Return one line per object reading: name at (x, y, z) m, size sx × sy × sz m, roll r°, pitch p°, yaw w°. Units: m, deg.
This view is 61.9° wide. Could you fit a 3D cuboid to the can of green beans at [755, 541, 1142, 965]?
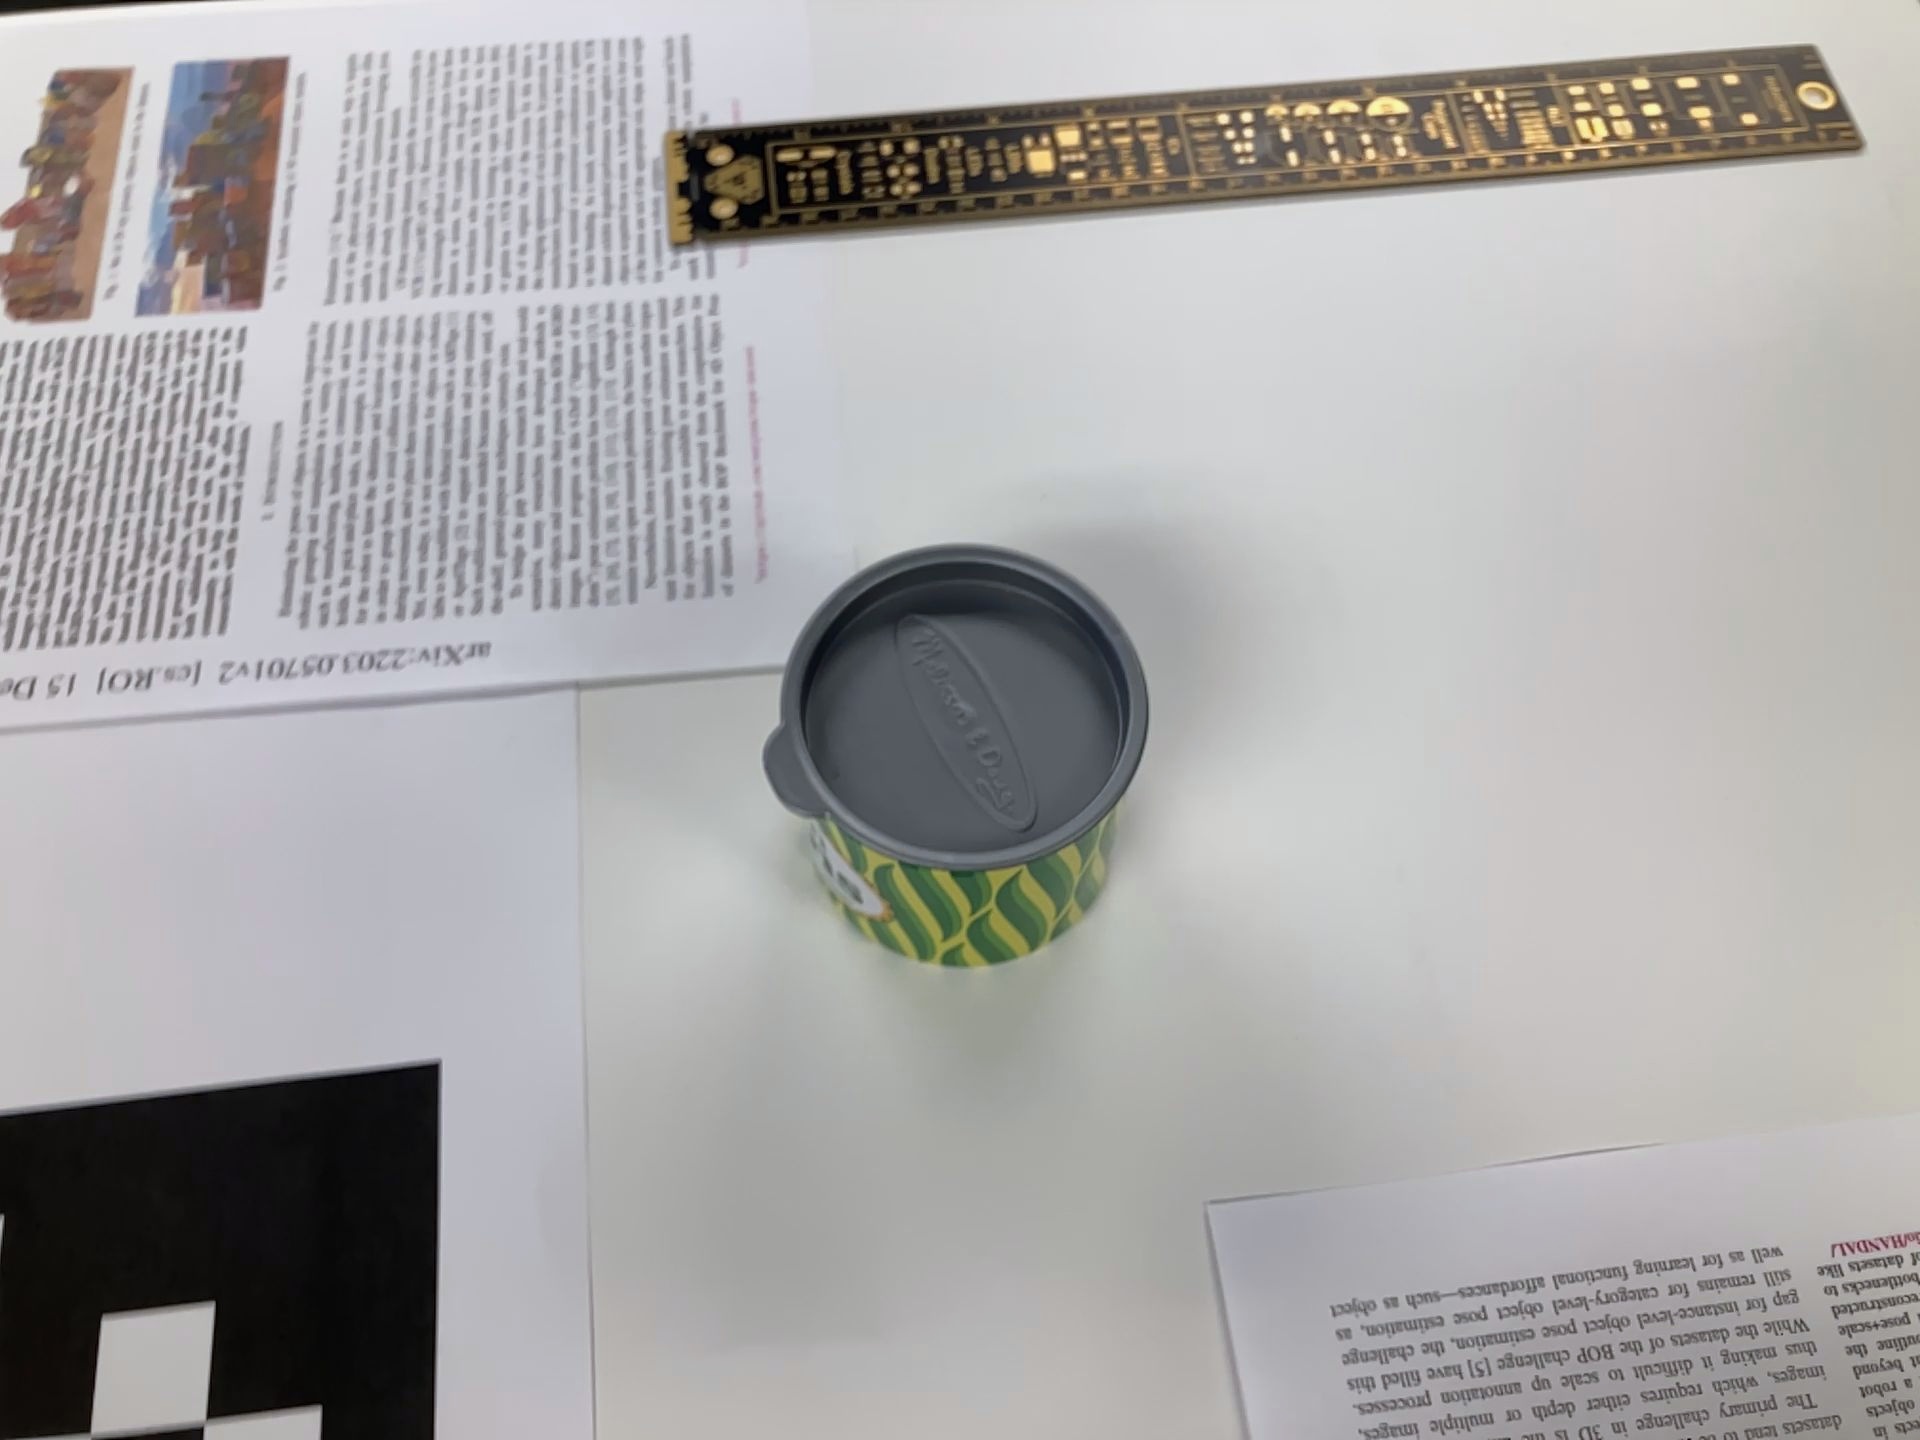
can of green beans at (-0.001, 0.008, 0.313) m, size 0.071 × 0.058 × 0.071 m, roll 0°, pitch 63°, yaw -1°
